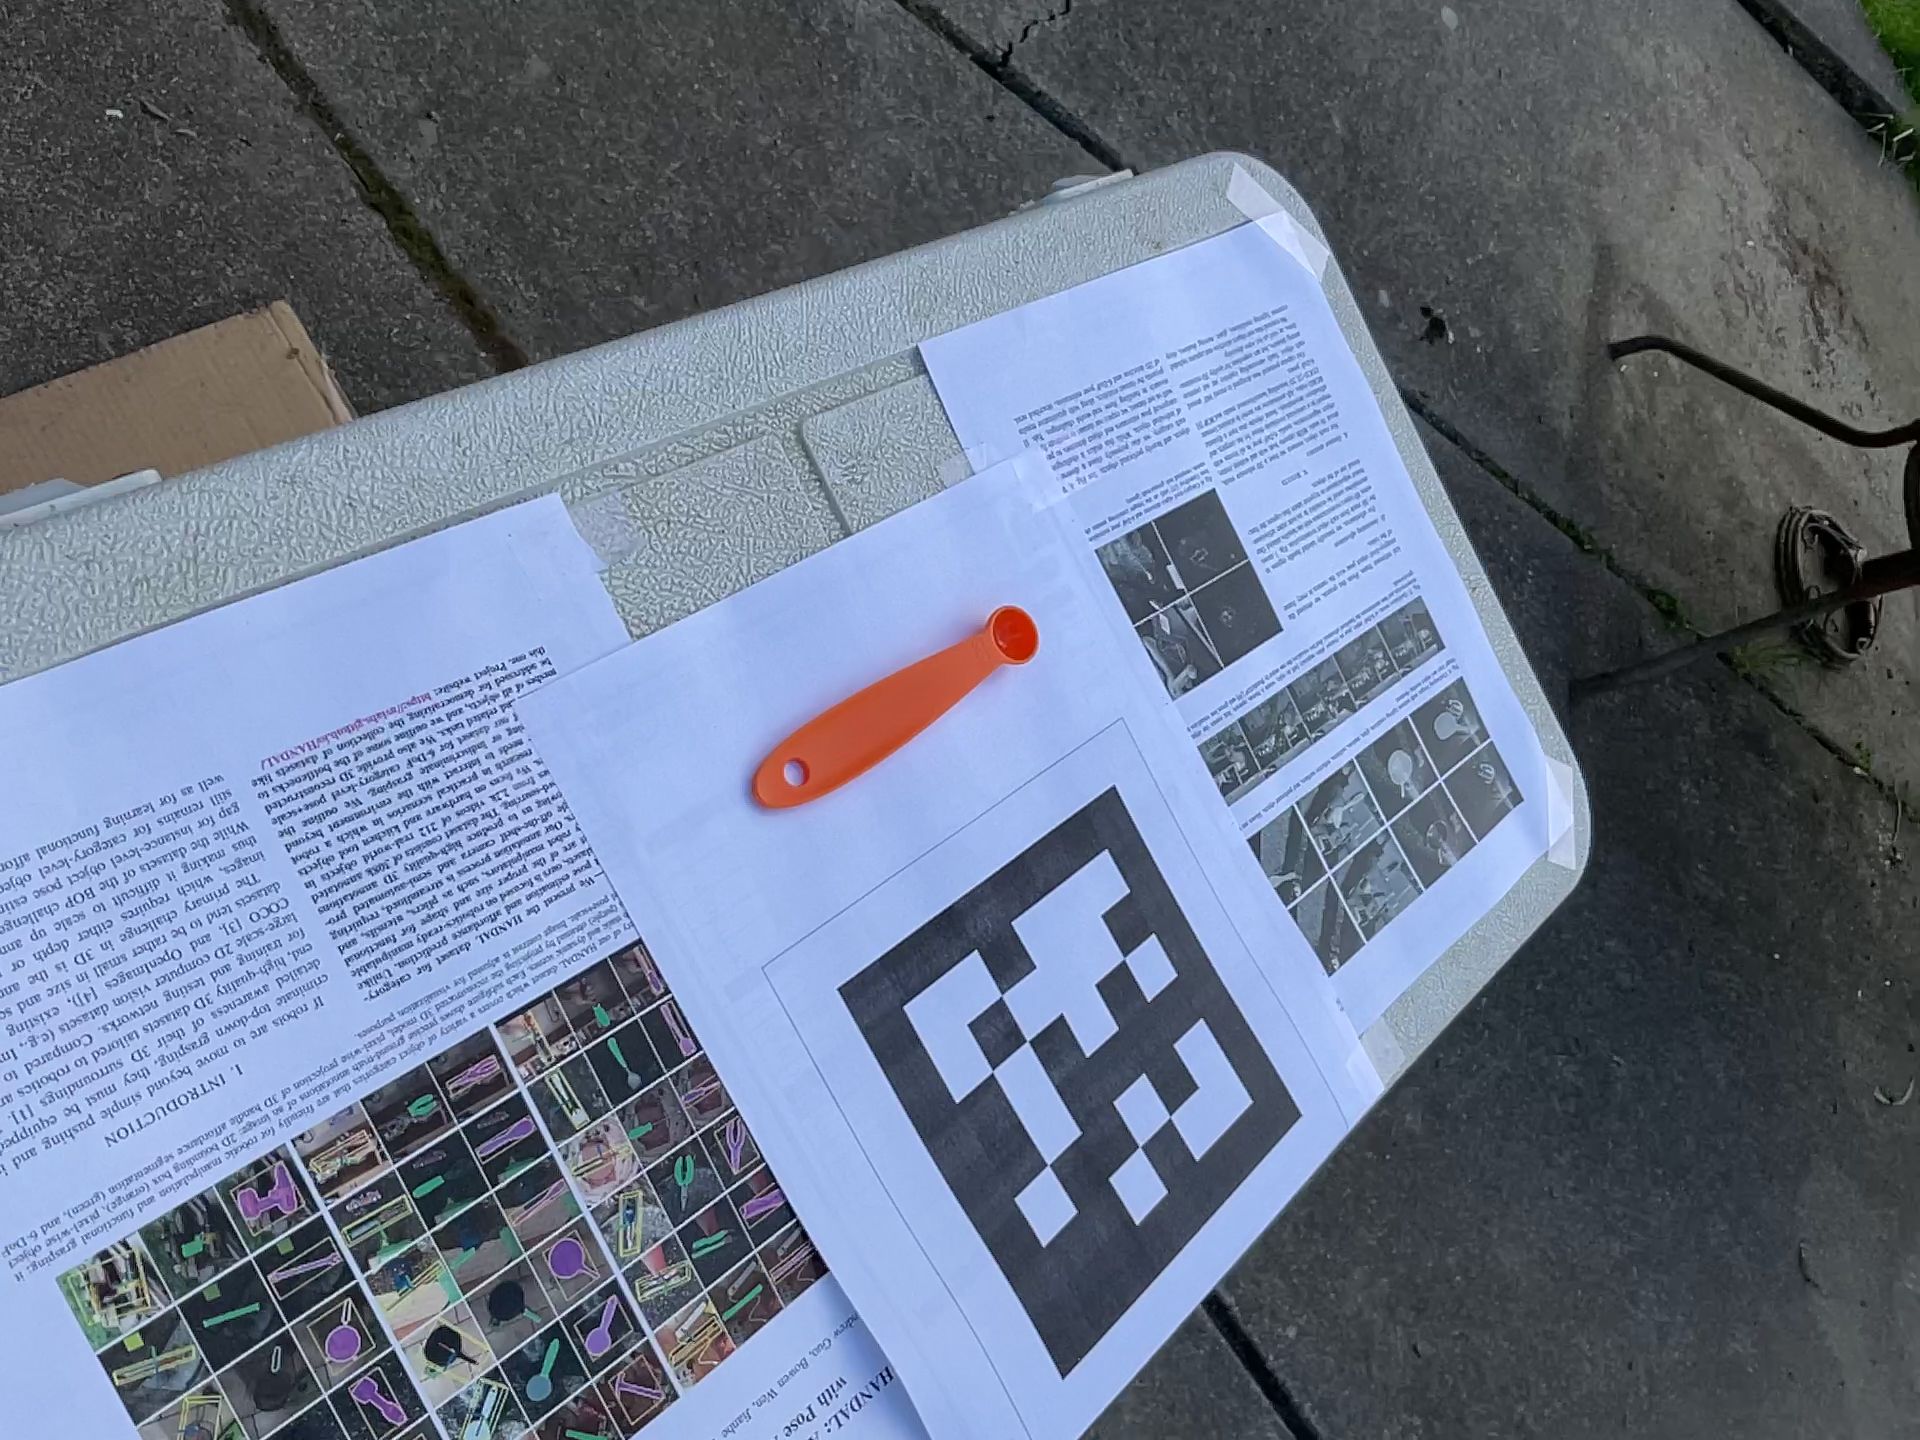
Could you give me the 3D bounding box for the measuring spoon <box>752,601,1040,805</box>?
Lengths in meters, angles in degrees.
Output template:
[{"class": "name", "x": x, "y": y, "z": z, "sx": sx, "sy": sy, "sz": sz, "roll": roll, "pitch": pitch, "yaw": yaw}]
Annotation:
[{"class": "measuring spoon", "x": -0.018, "y": -0.005, "z": 0.478, "sx": 0.117, "sy": 0.011, "sz": 0.021, "roll": -33, "pitch": 97, "yaw": -35}]
